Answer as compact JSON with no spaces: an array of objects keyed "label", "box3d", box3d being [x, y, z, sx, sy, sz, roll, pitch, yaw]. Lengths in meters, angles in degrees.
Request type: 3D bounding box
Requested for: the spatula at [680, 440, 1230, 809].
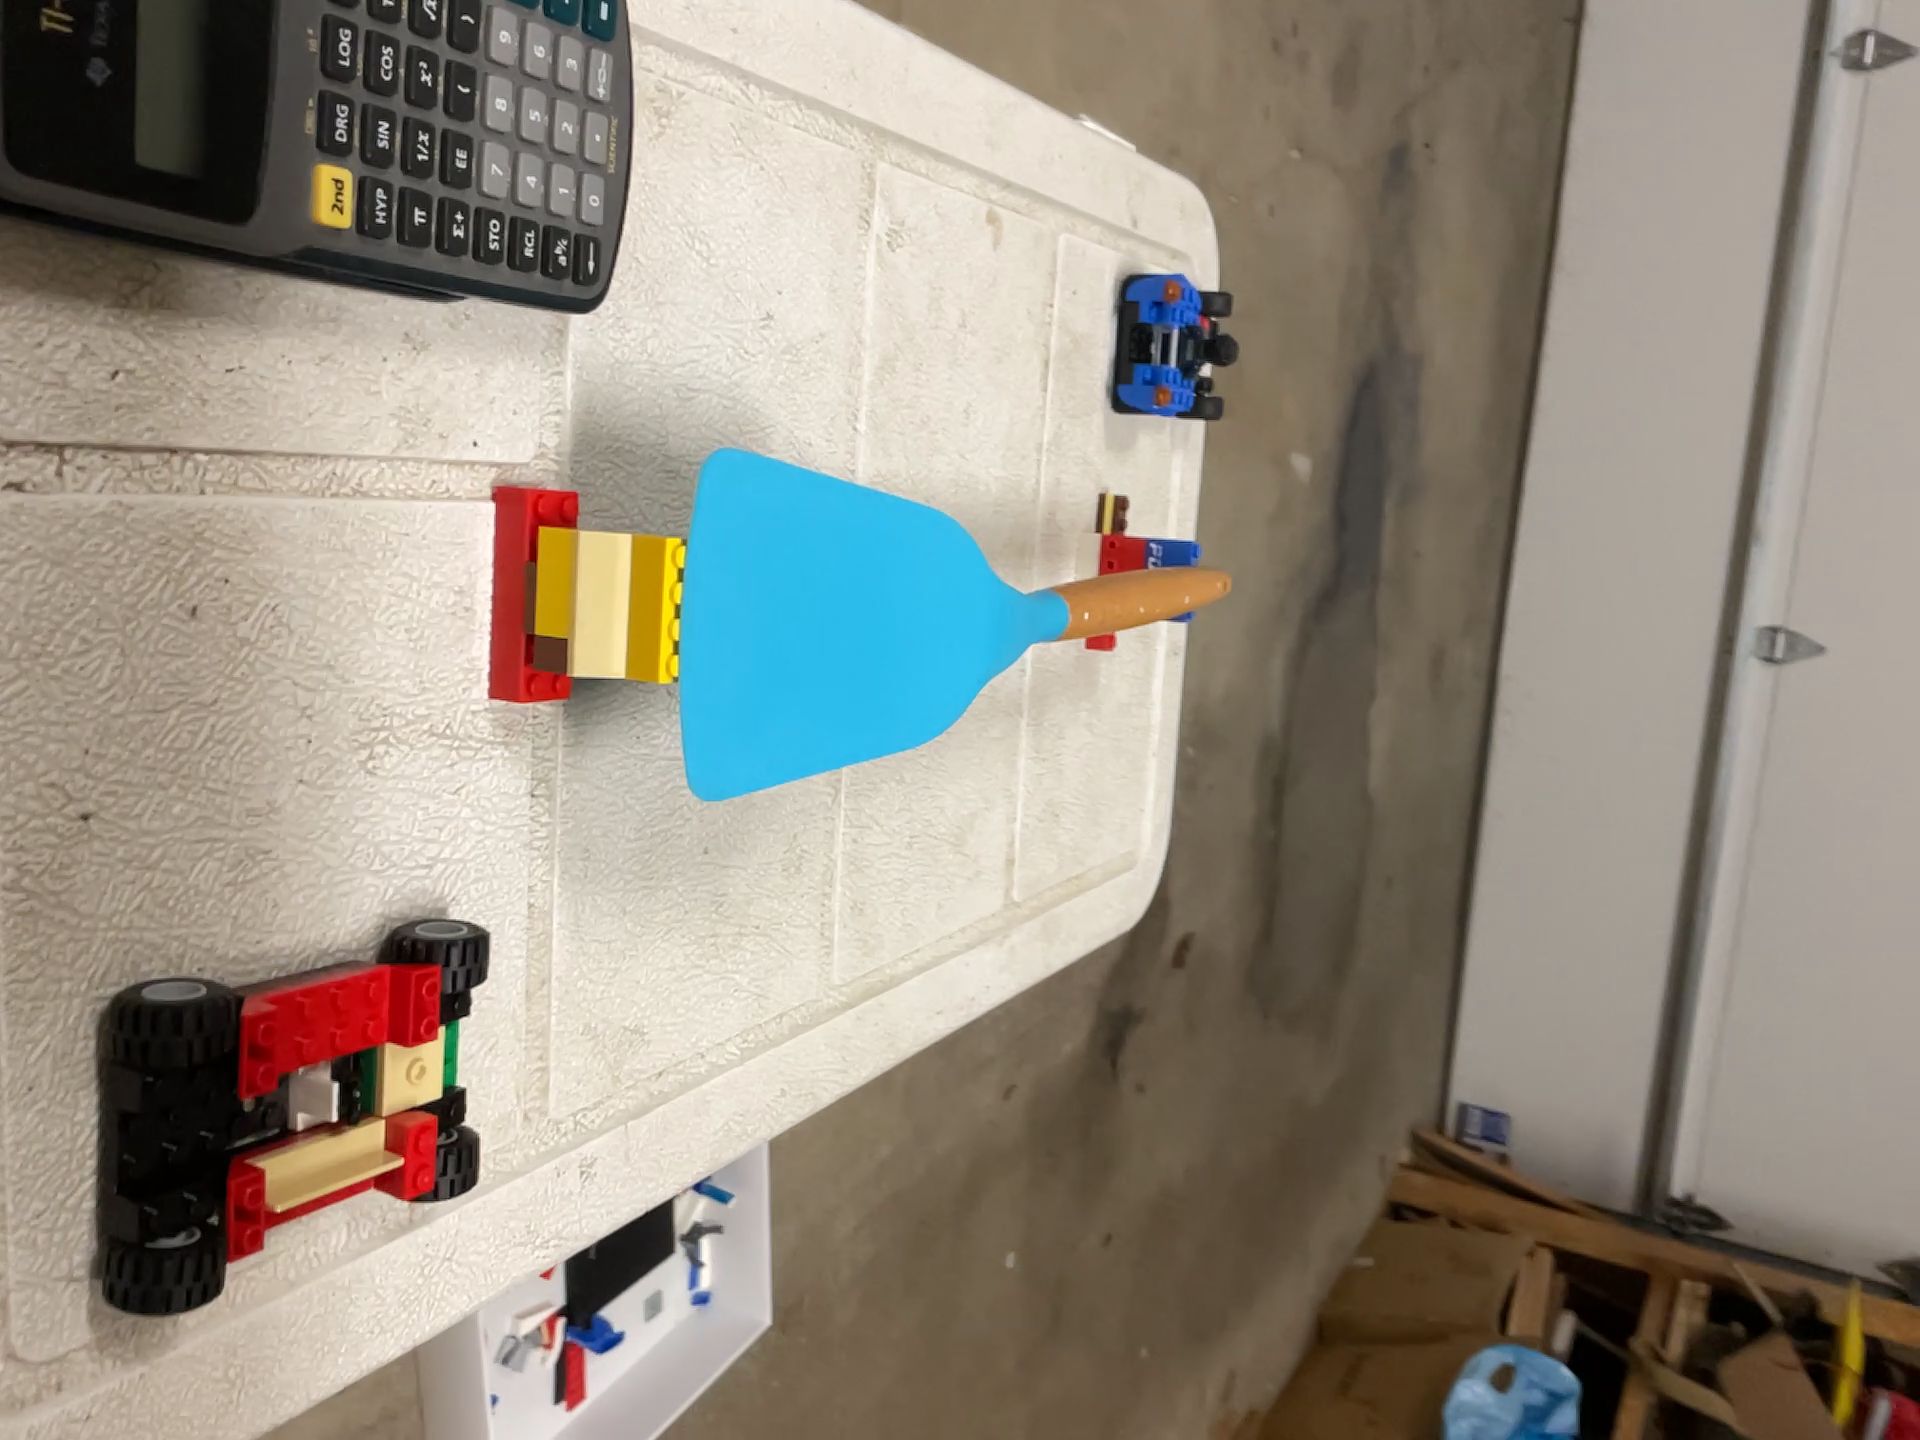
[{"label":"spatula","box3d":[0.025,-0.035,0.484,0.318,0.044,0.082,-15,110,-65]}]
